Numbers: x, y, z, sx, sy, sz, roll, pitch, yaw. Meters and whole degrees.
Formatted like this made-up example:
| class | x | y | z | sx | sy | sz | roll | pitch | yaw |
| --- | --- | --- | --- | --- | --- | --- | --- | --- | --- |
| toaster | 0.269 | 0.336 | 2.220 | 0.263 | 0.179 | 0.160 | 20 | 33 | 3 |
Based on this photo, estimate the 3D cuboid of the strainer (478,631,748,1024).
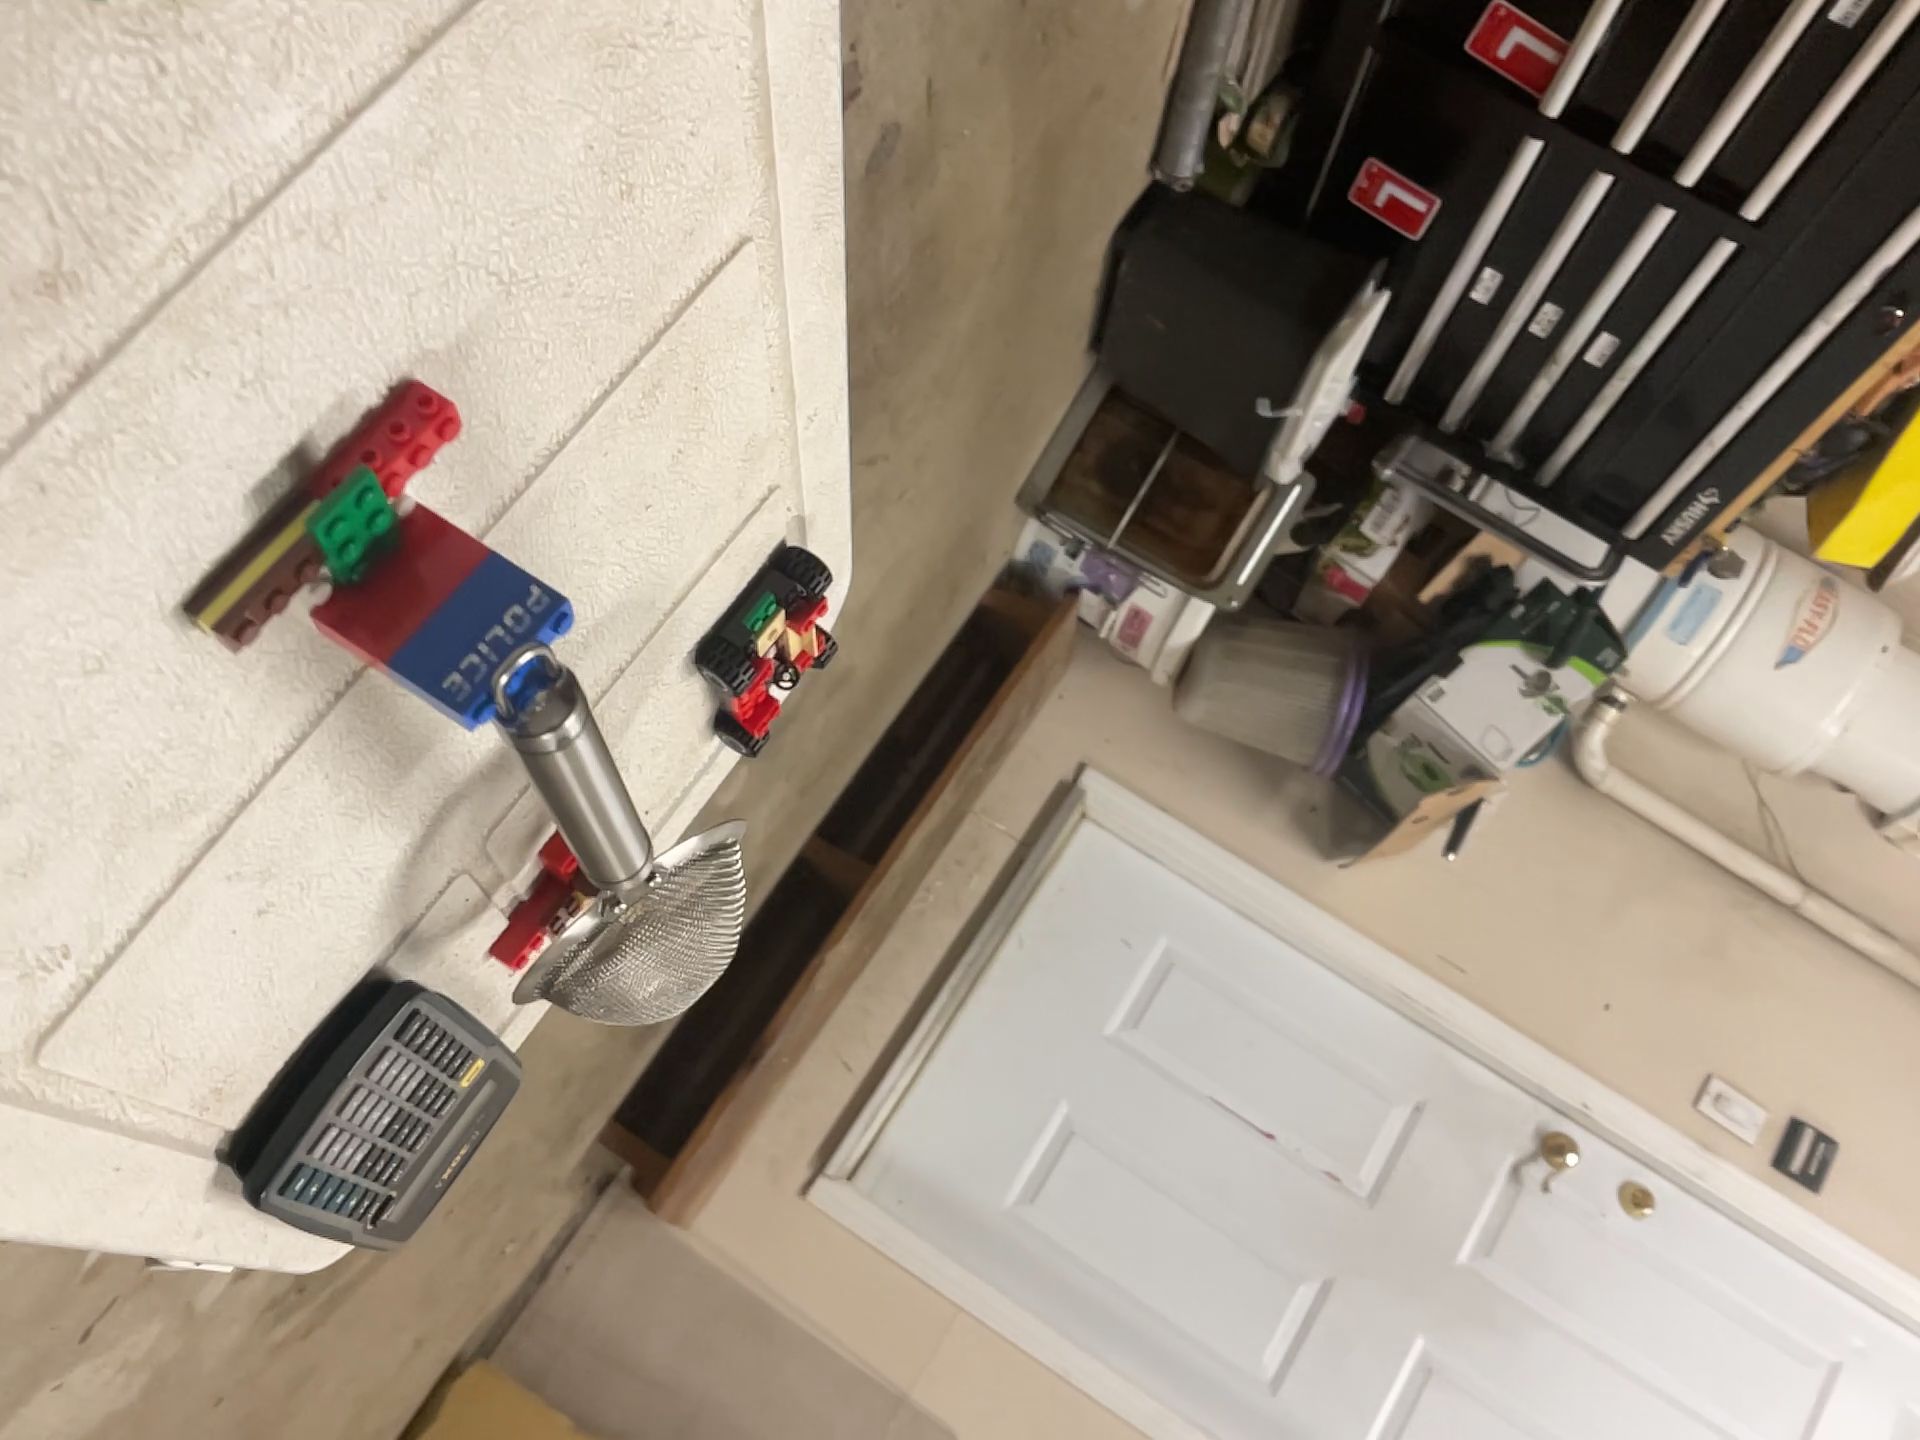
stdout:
| class | x | y | z | sx | sy | sz | roll | pitch | yaw |
| --- | --- | --- | --- | --- | --- | --- | --- | --- | --- |
| strainer | -0.091 | 0.038 | 0.419 | 0.087 | 0.050 | 0.258 | -38 | 163 | -16 |
